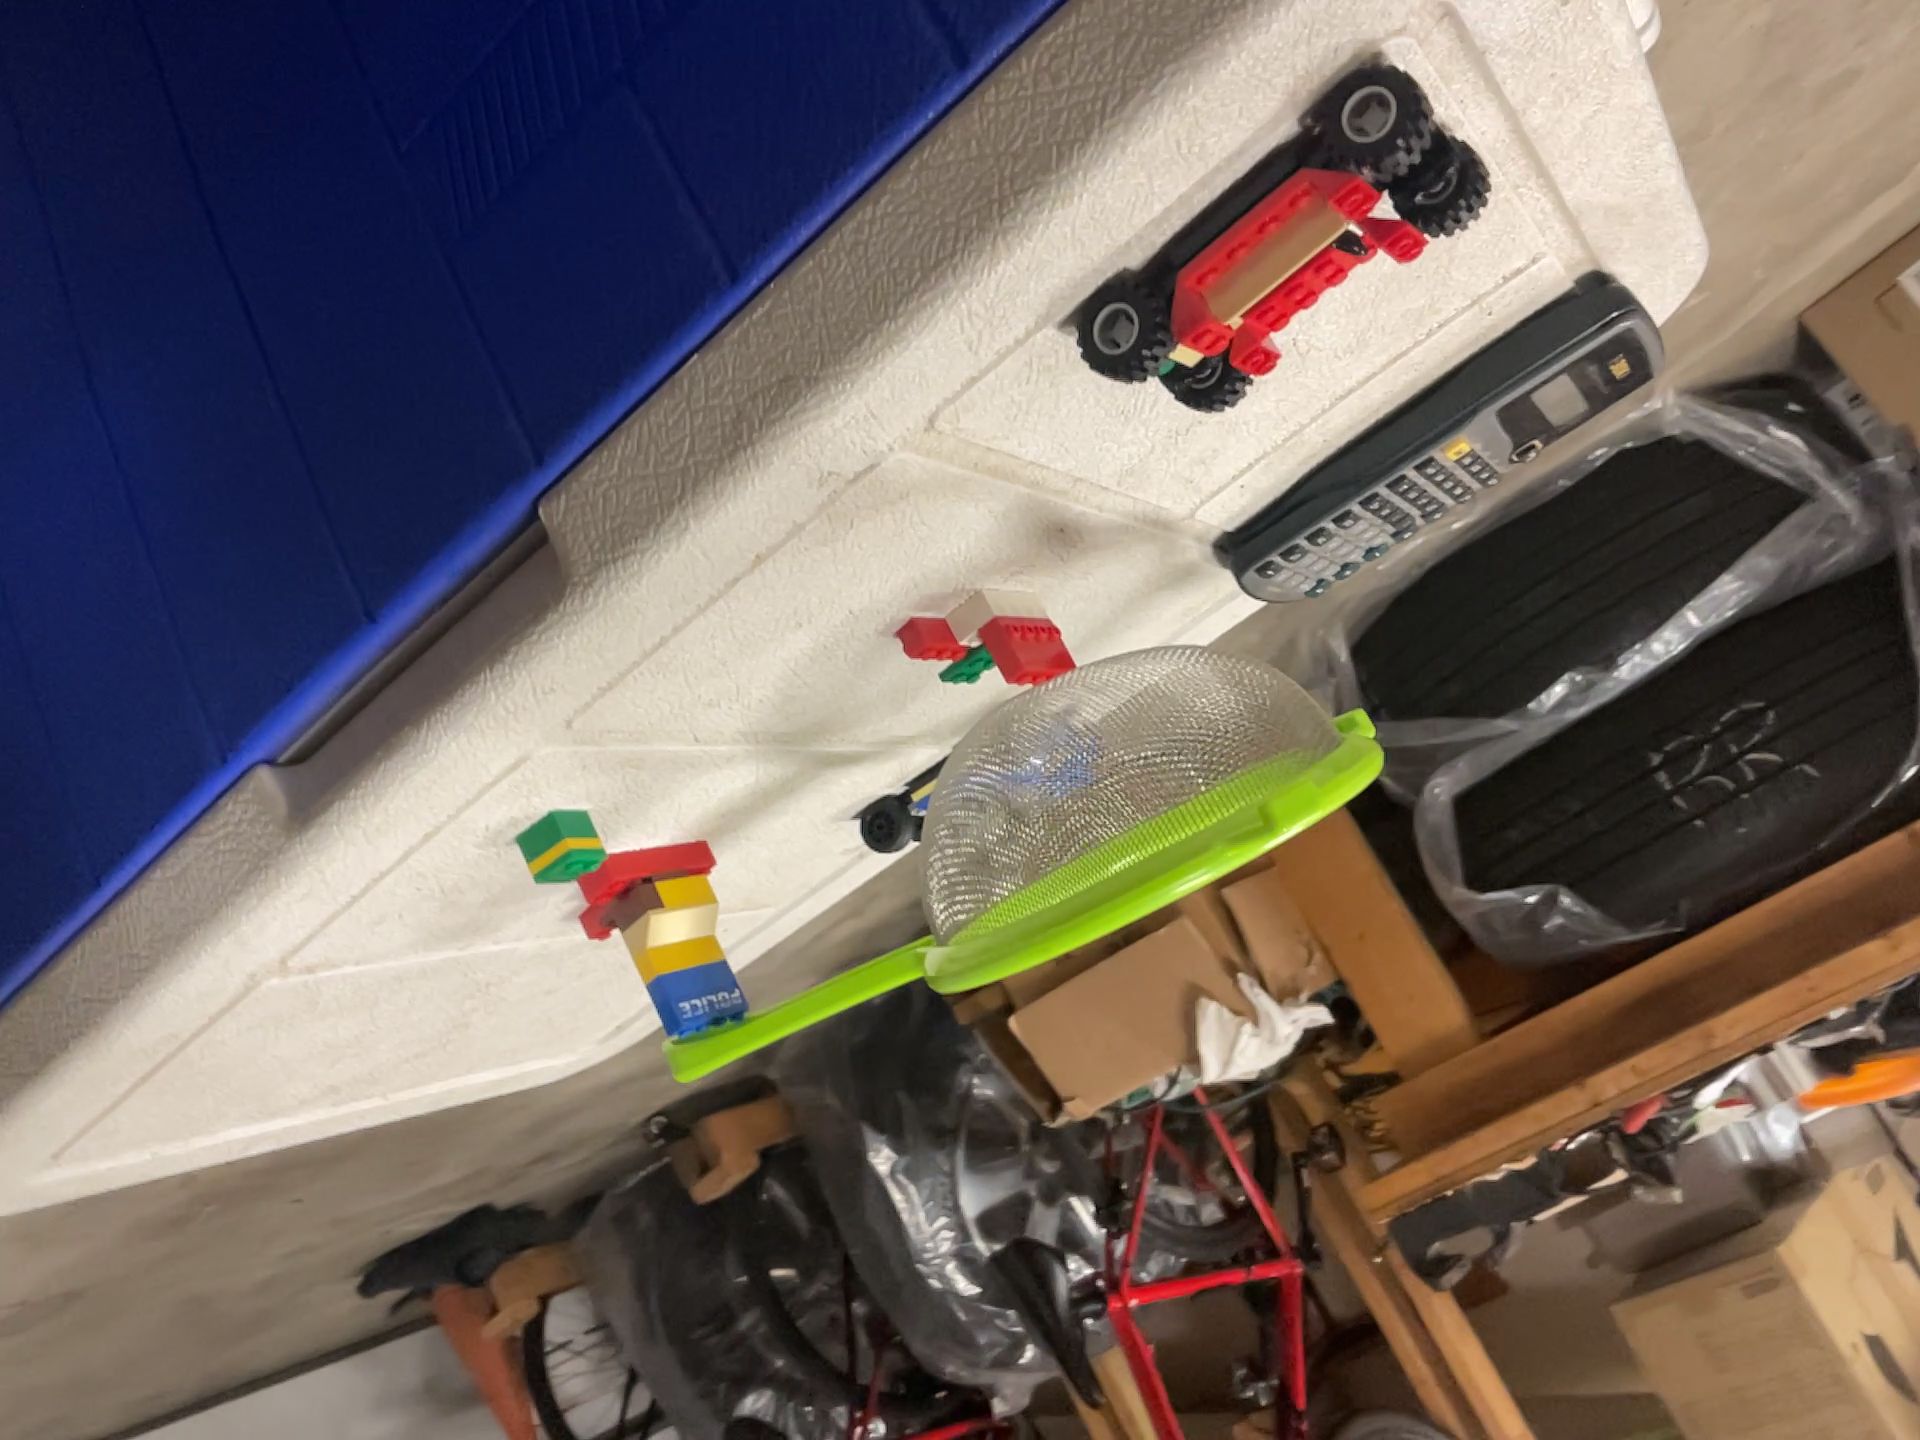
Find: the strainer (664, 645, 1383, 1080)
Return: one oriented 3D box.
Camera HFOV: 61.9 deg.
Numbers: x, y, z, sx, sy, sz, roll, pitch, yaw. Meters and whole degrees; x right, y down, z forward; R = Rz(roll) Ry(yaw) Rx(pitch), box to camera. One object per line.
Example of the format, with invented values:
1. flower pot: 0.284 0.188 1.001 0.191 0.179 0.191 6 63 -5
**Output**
1. strainer: 0.000 0.040 0.499 0.256 0.069 0.152 -27 179 21
